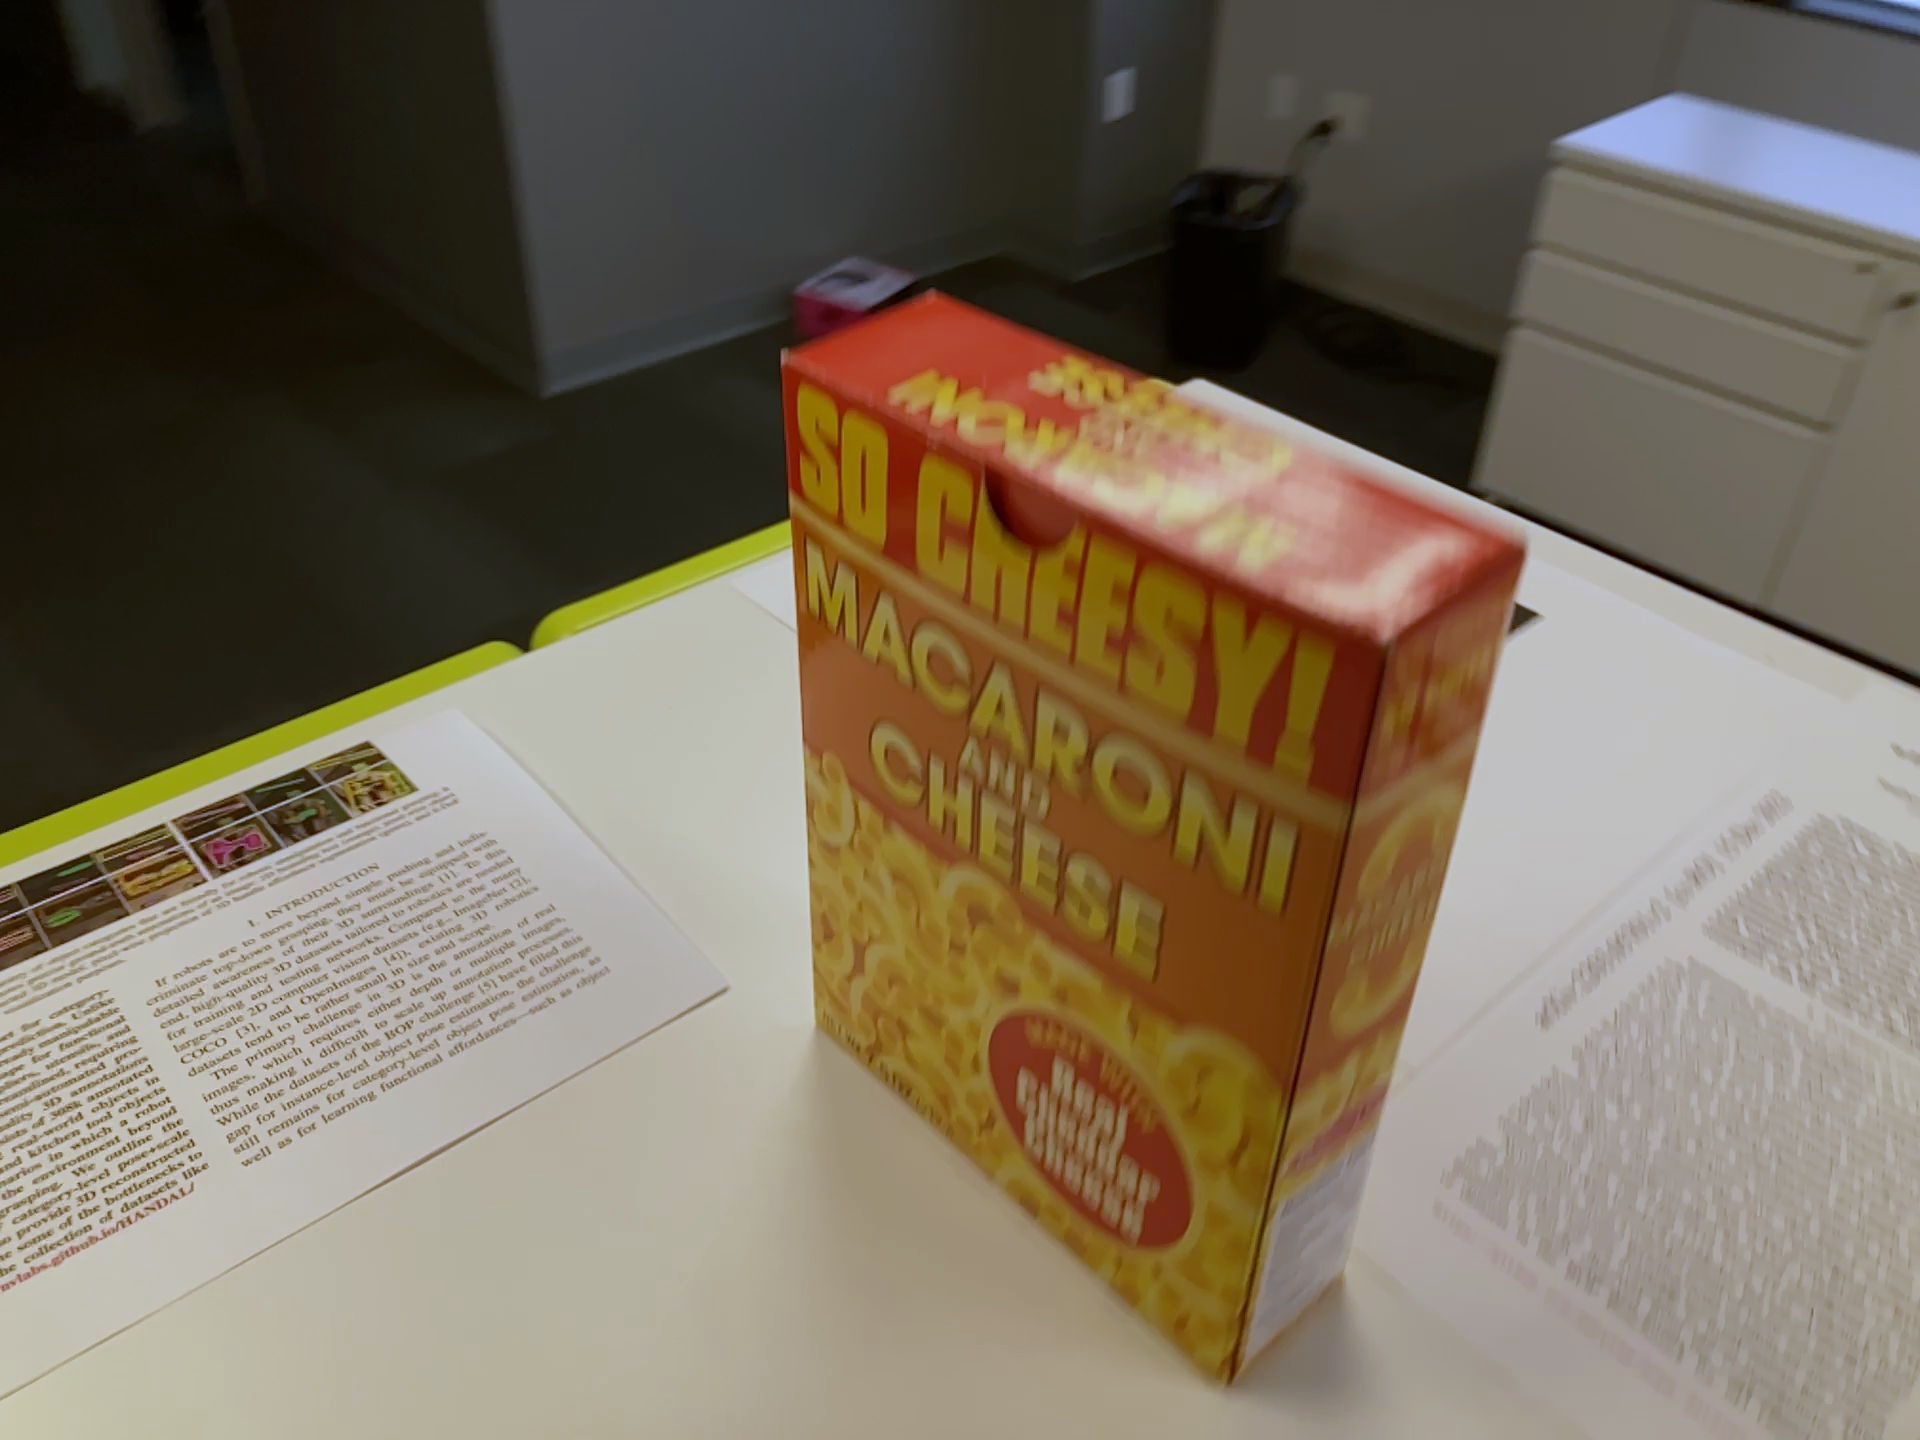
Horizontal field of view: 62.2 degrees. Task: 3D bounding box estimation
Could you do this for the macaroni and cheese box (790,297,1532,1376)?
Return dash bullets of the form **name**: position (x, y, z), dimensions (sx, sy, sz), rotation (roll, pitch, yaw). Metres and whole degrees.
- **macaroni and cheese box**: position (0.023, 0.023, 0.293), dimensions (0.040, 0.166, 0.124), rotation (-29, 46, -35)
